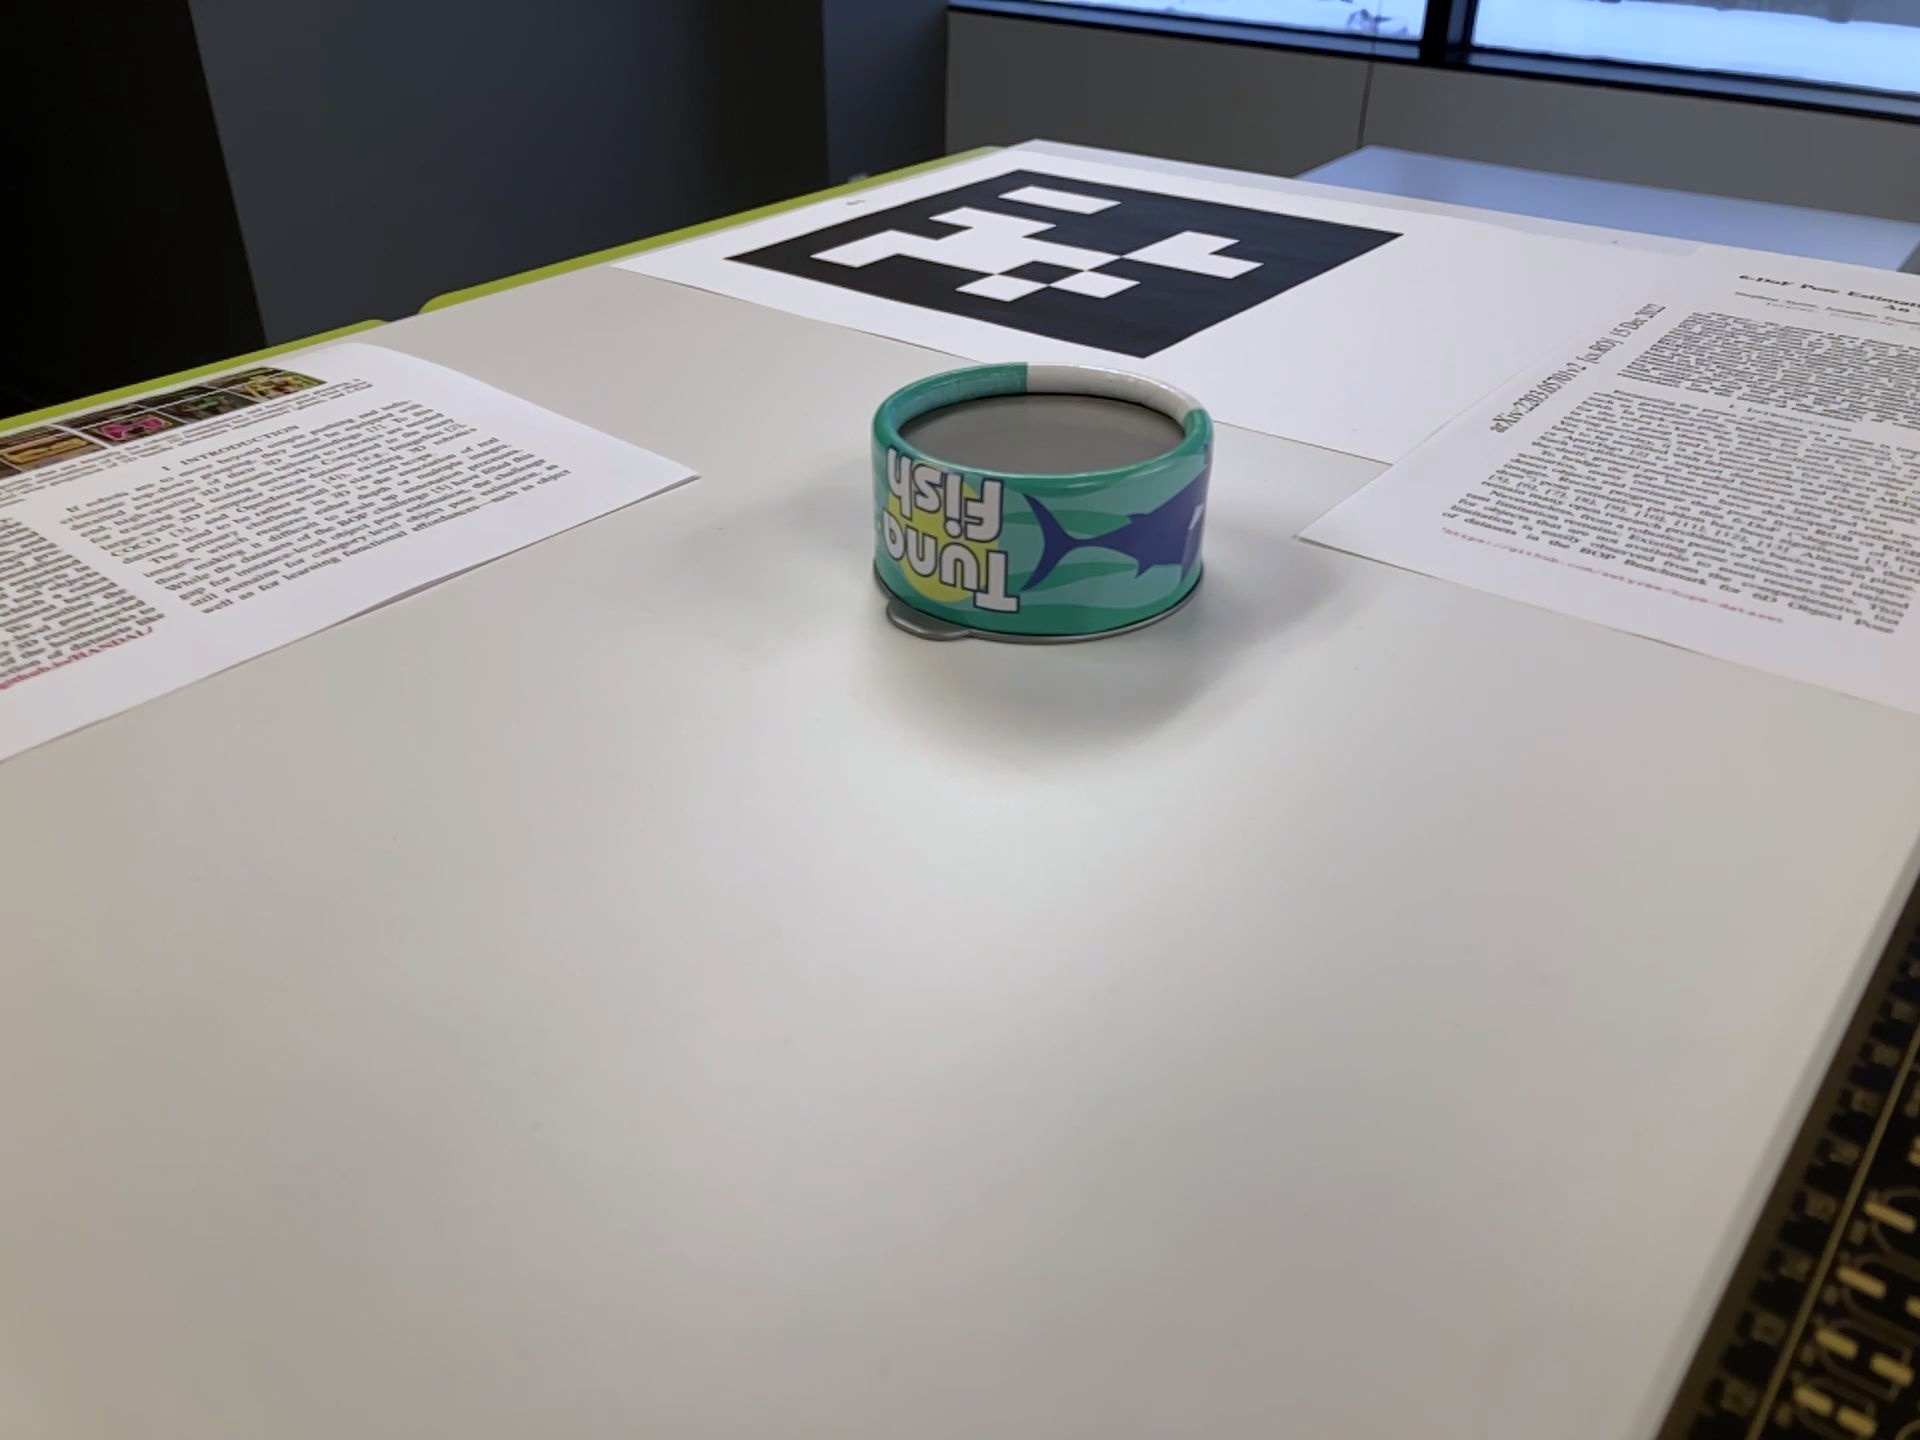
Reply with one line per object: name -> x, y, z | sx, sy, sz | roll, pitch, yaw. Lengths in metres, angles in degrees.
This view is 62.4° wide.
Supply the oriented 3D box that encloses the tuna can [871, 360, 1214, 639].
tuna can -> 0.014, -0.044, 0.308 | 0.071, 0.033, 0.071 | -2, 31, 1
